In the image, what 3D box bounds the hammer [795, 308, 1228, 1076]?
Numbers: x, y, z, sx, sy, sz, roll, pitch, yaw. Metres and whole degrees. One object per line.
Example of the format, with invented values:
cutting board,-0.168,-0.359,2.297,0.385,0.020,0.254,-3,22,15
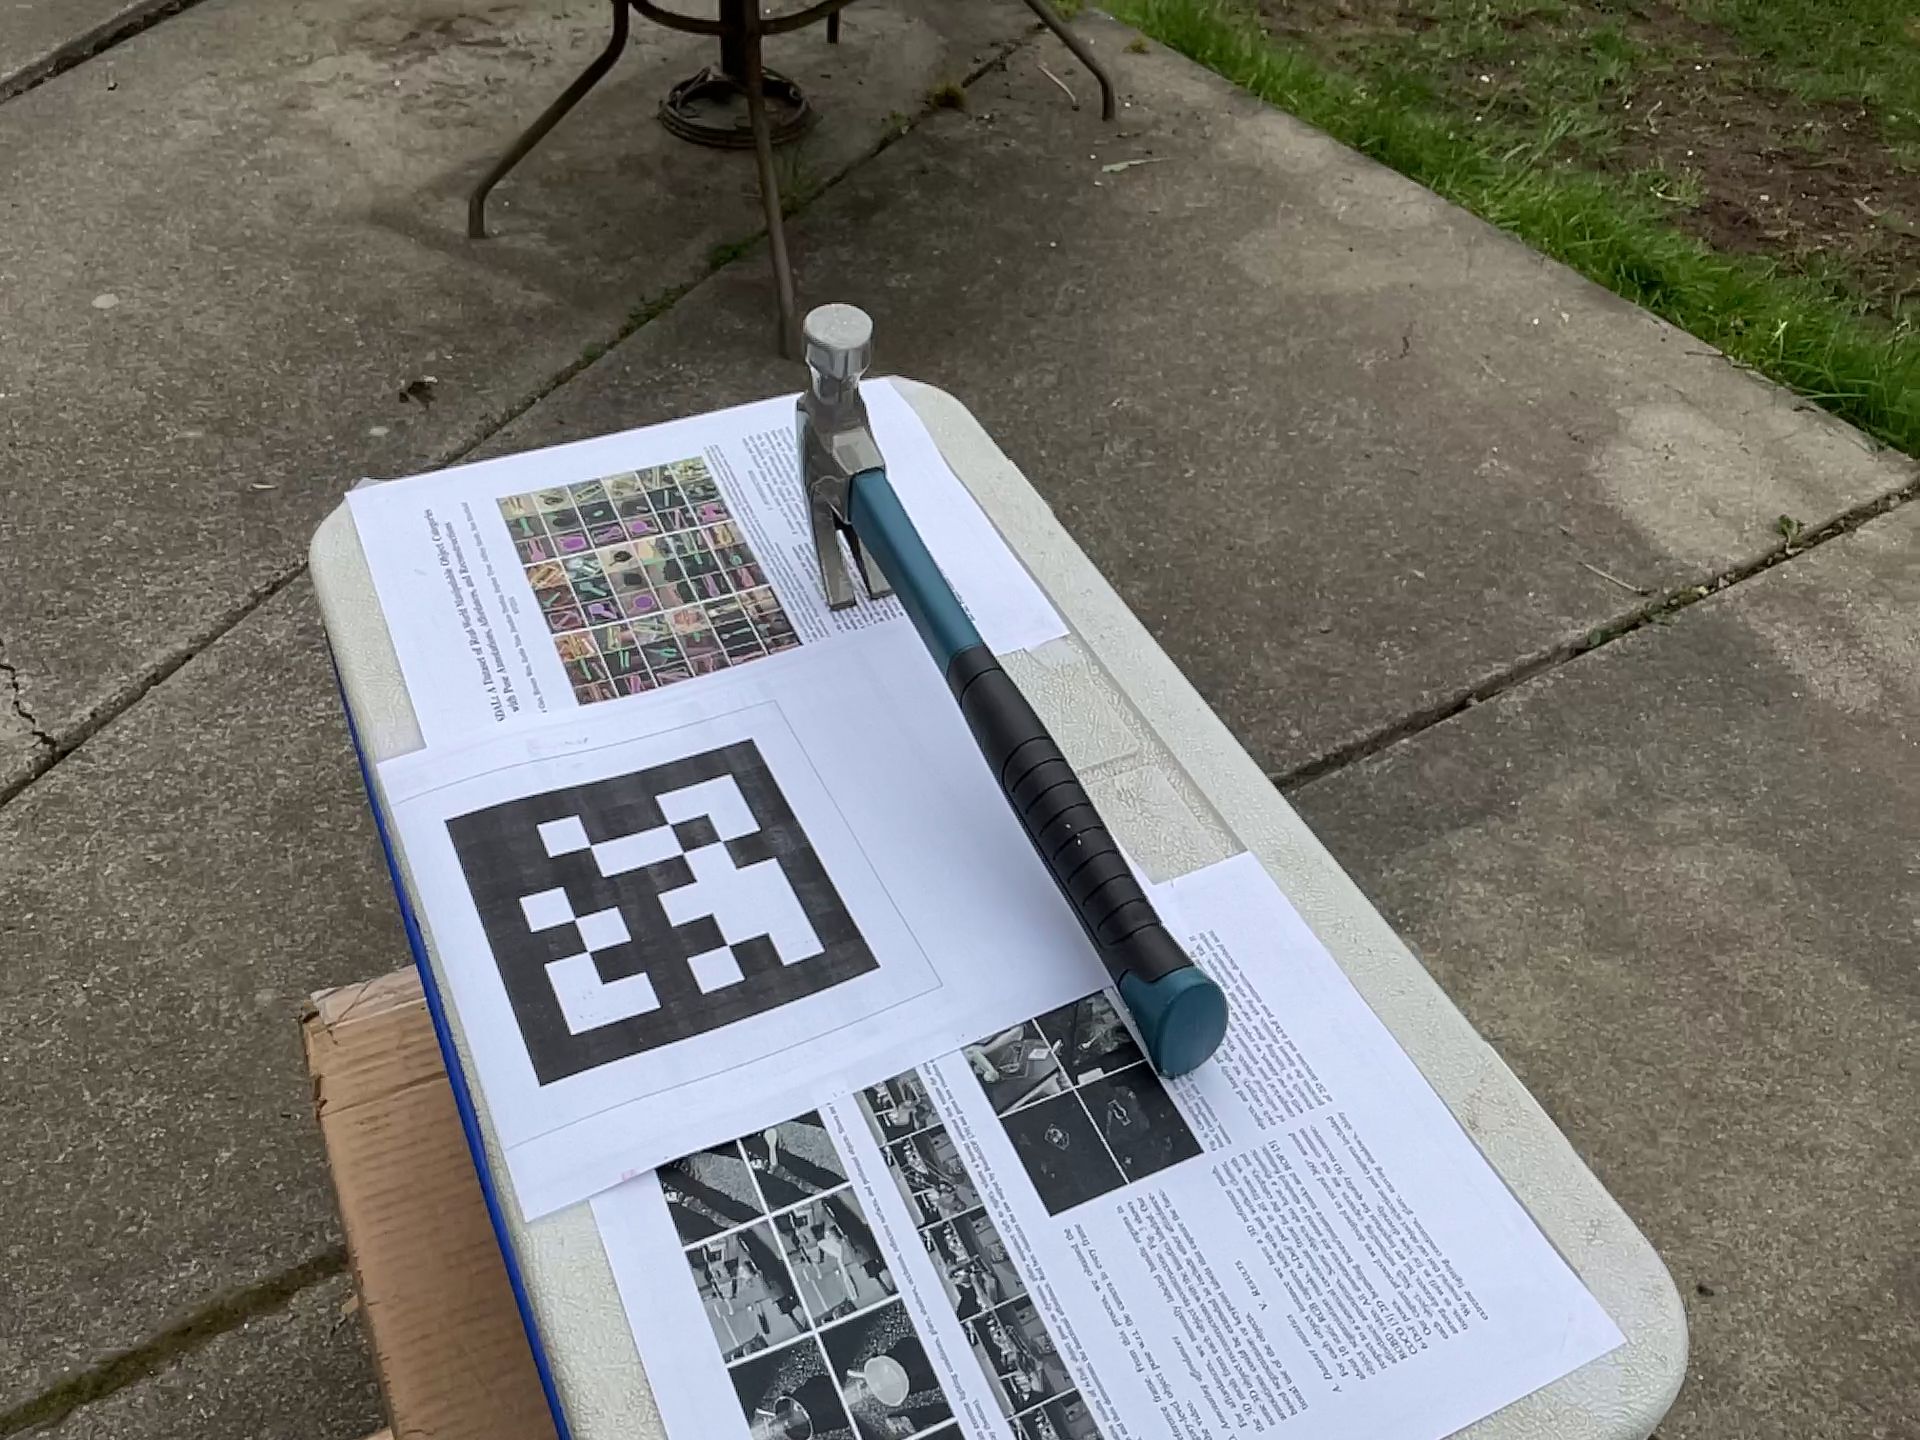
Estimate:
hammer,0.009,-0.011,0.633,0.033,0.128,0.331,-19,58,-19
